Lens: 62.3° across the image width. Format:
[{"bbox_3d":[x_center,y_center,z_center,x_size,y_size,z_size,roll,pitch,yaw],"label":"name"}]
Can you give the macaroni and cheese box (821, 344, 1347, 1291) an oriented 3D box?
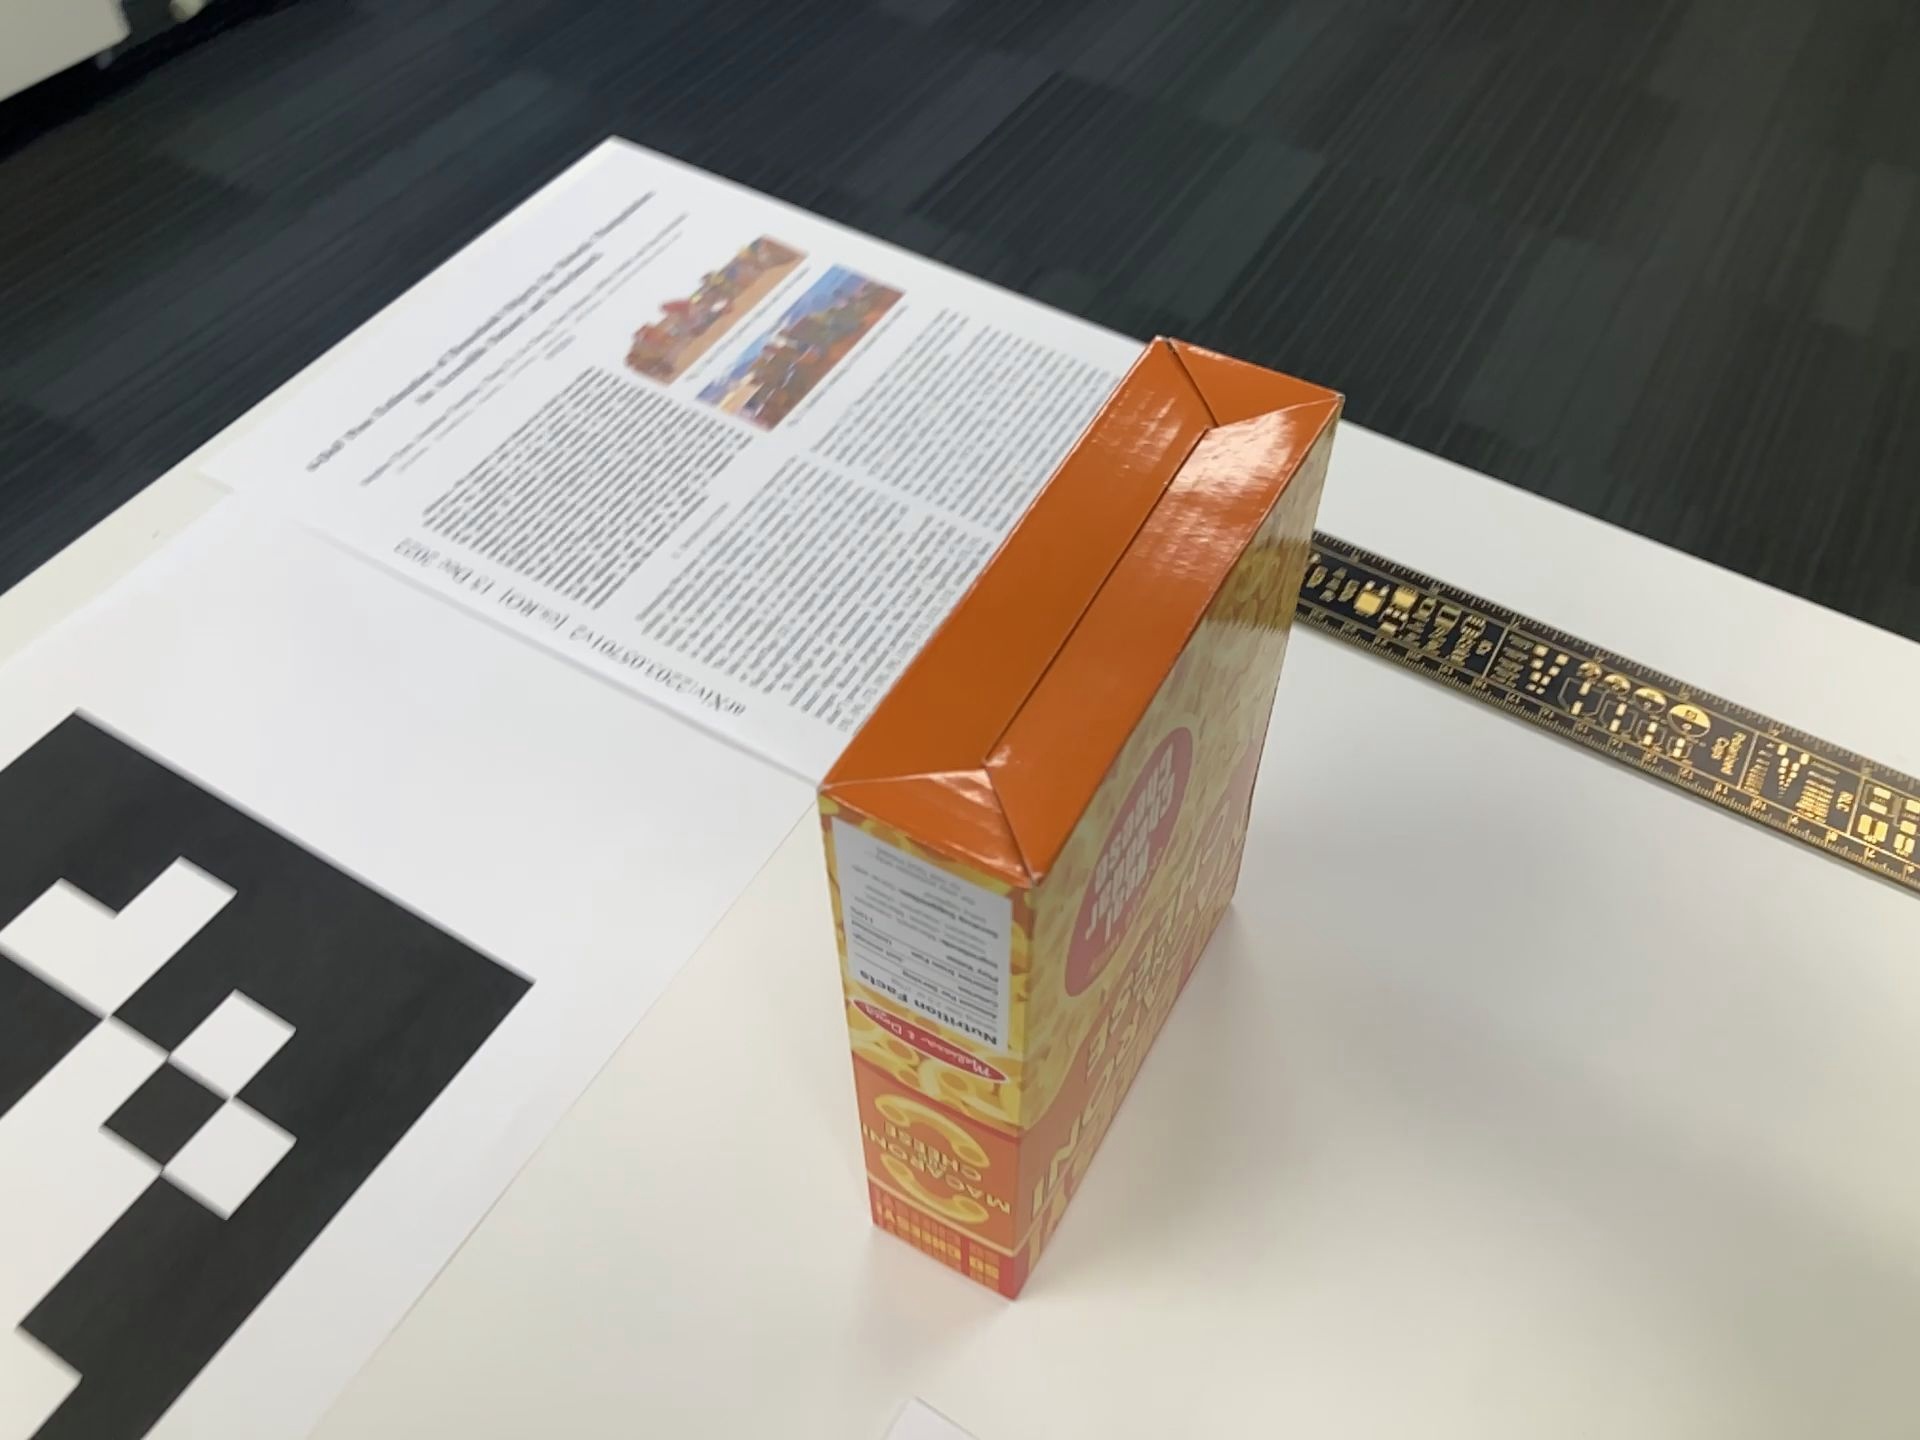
[{"bbox_3d":[0.026,0.028,0.328,0.040,0.166,0.124,24,55,19],"label":"macaroni and cheese box"}]
